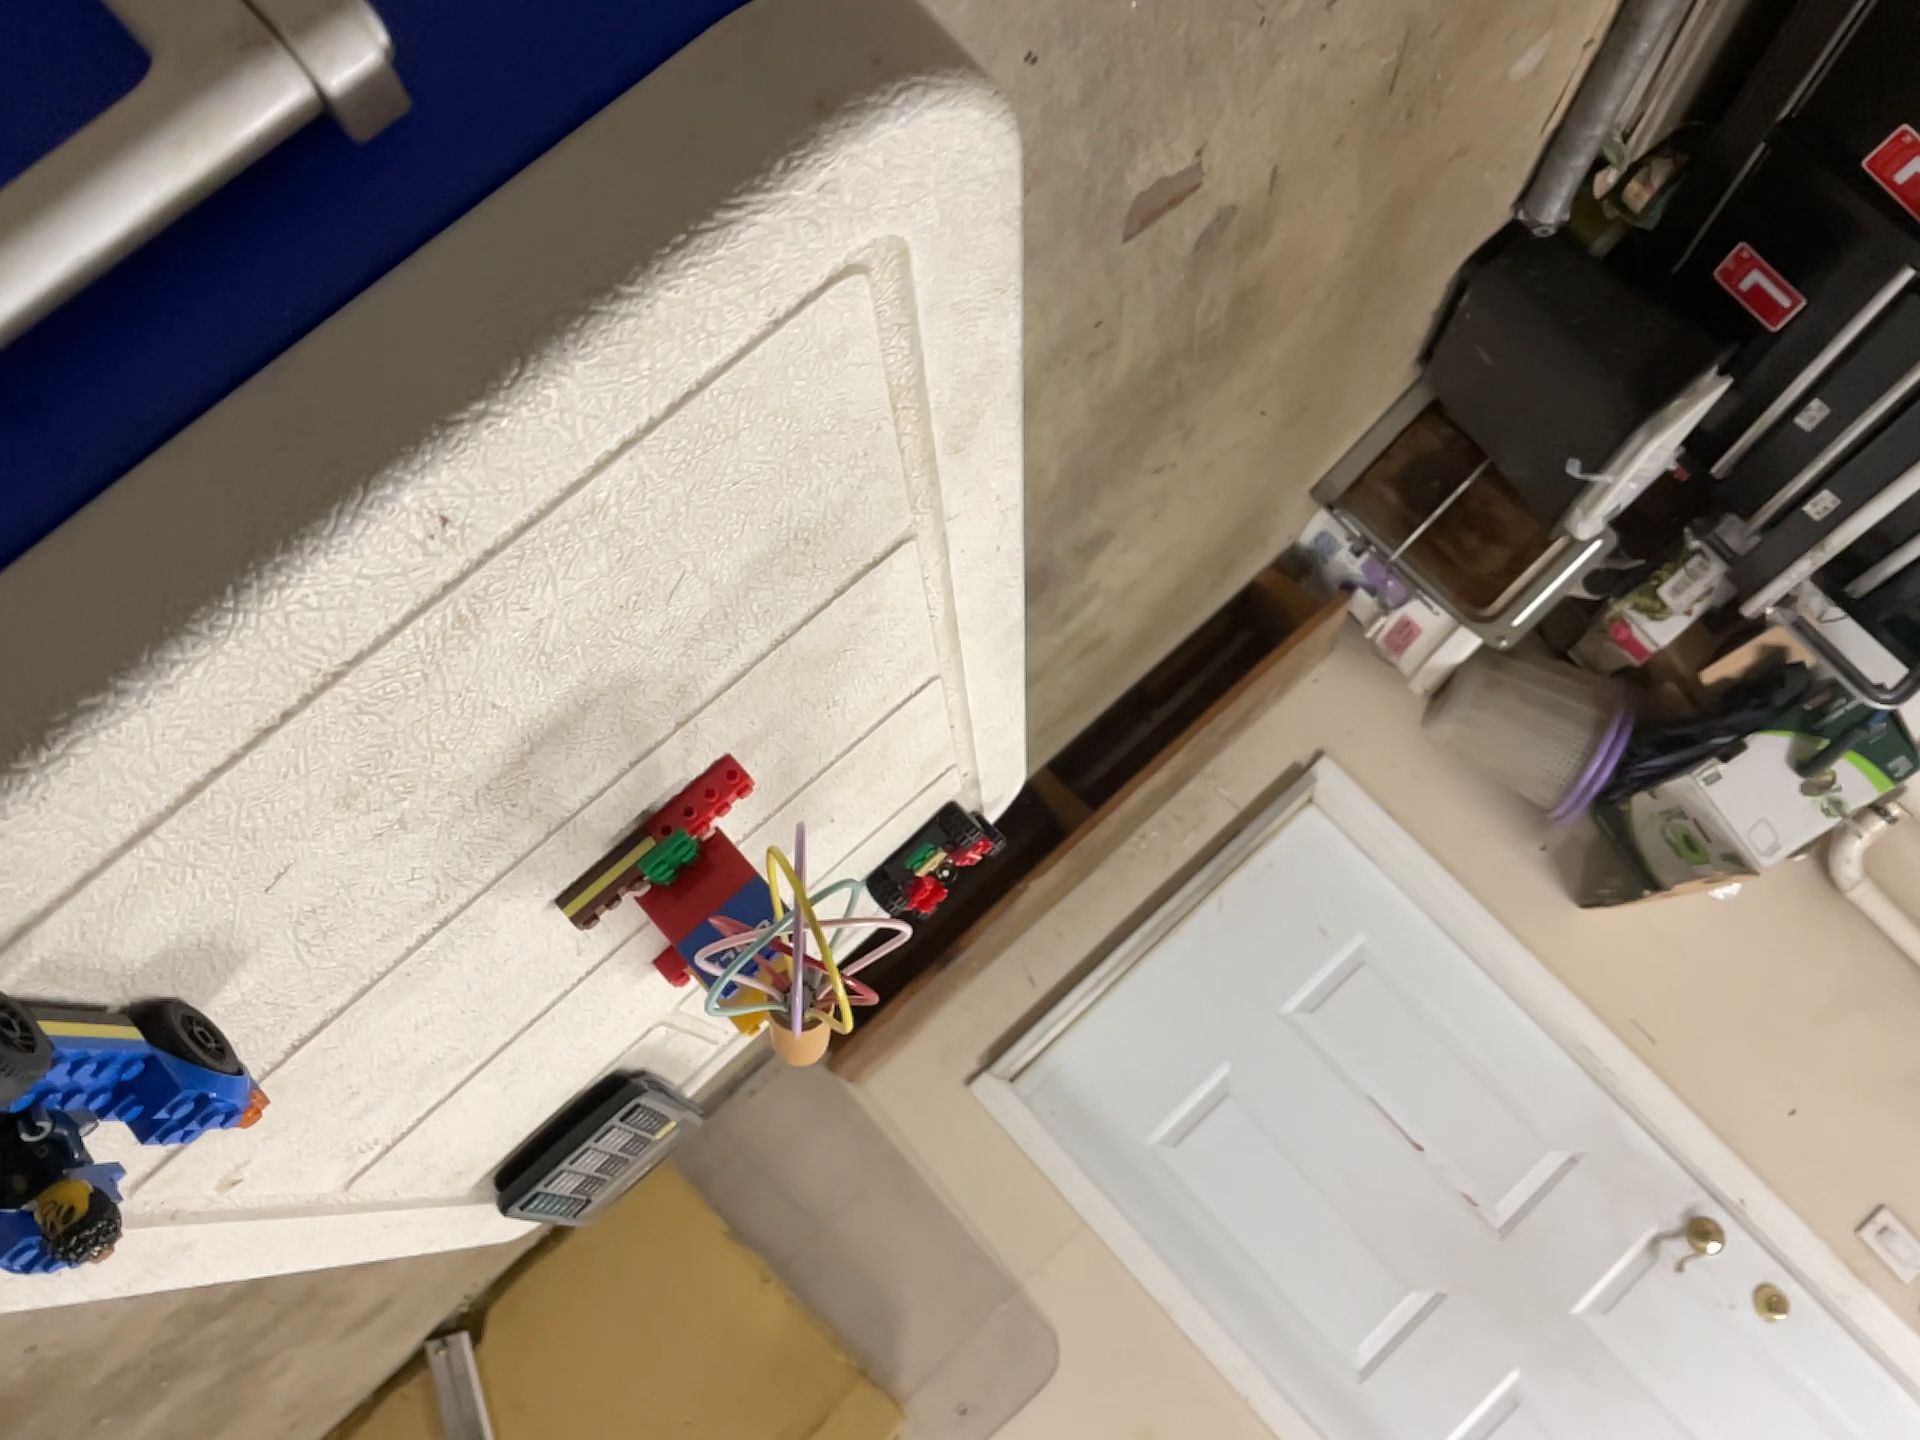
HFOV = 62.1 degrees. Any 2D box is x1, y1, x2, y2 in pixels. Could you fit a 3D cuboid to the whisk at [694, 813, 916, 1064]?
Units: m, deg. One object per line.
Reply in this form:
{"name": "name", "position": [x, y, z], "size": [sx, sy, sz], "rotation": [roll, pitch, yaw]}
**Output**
{"name": "whisk", "position": [-0.047, 0.082, 0.468], "size": [0.051, 0.047, 0.245], "rotation": [-52, 174, -18]}
